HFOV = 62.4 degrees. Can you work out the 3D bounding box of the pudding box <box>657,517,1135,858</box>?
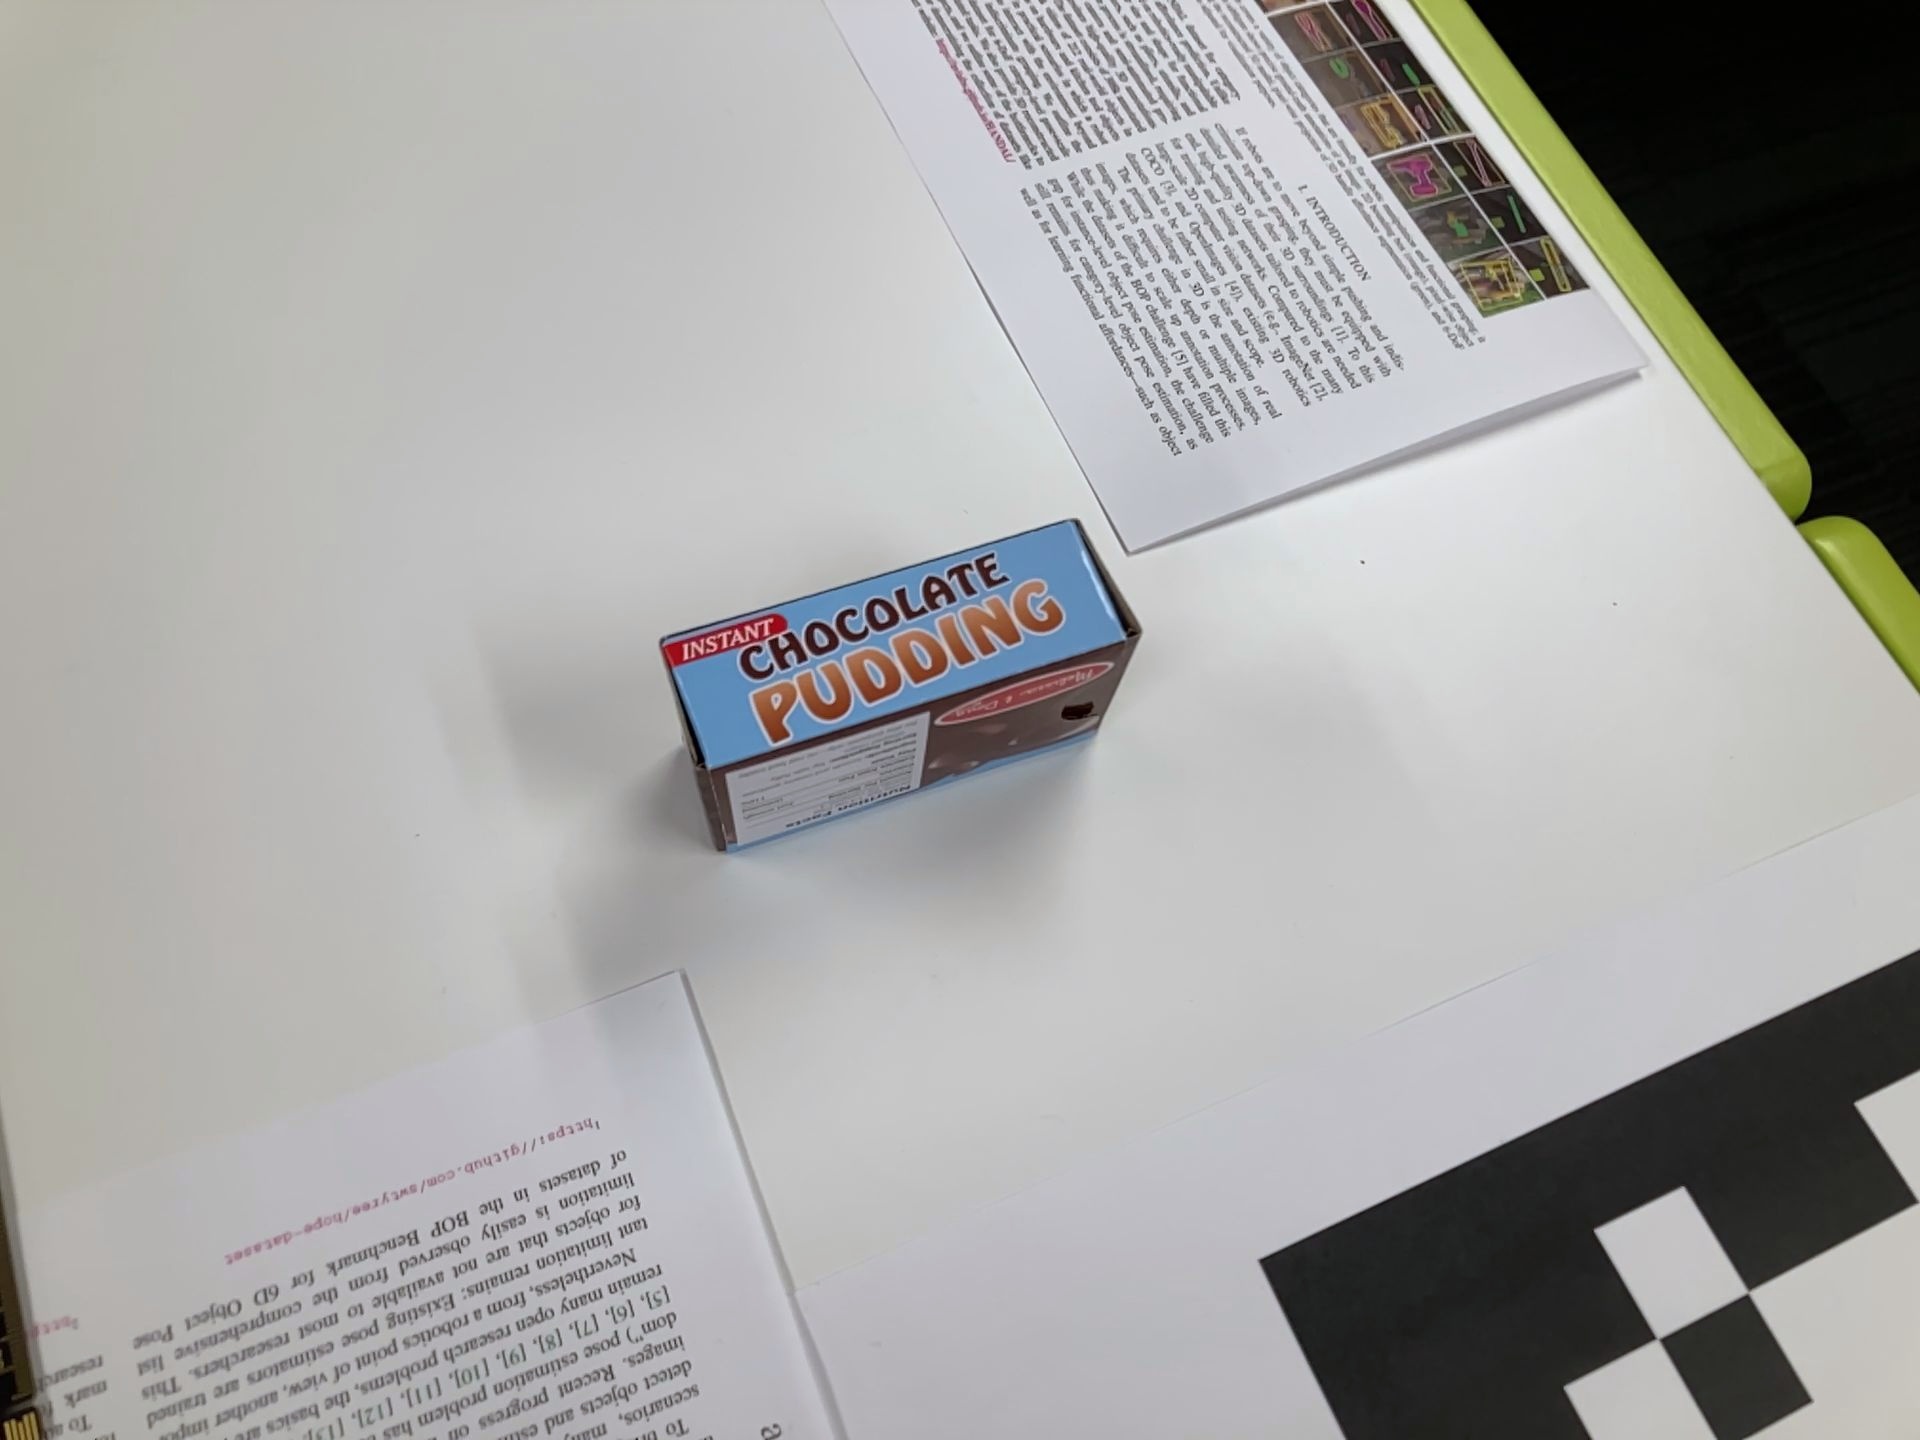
[{"bbox_3d":[-0.013,-0.005,0.308,0.083,0.049,0.030,-18,69,-12],"label":"pudding box"}]
